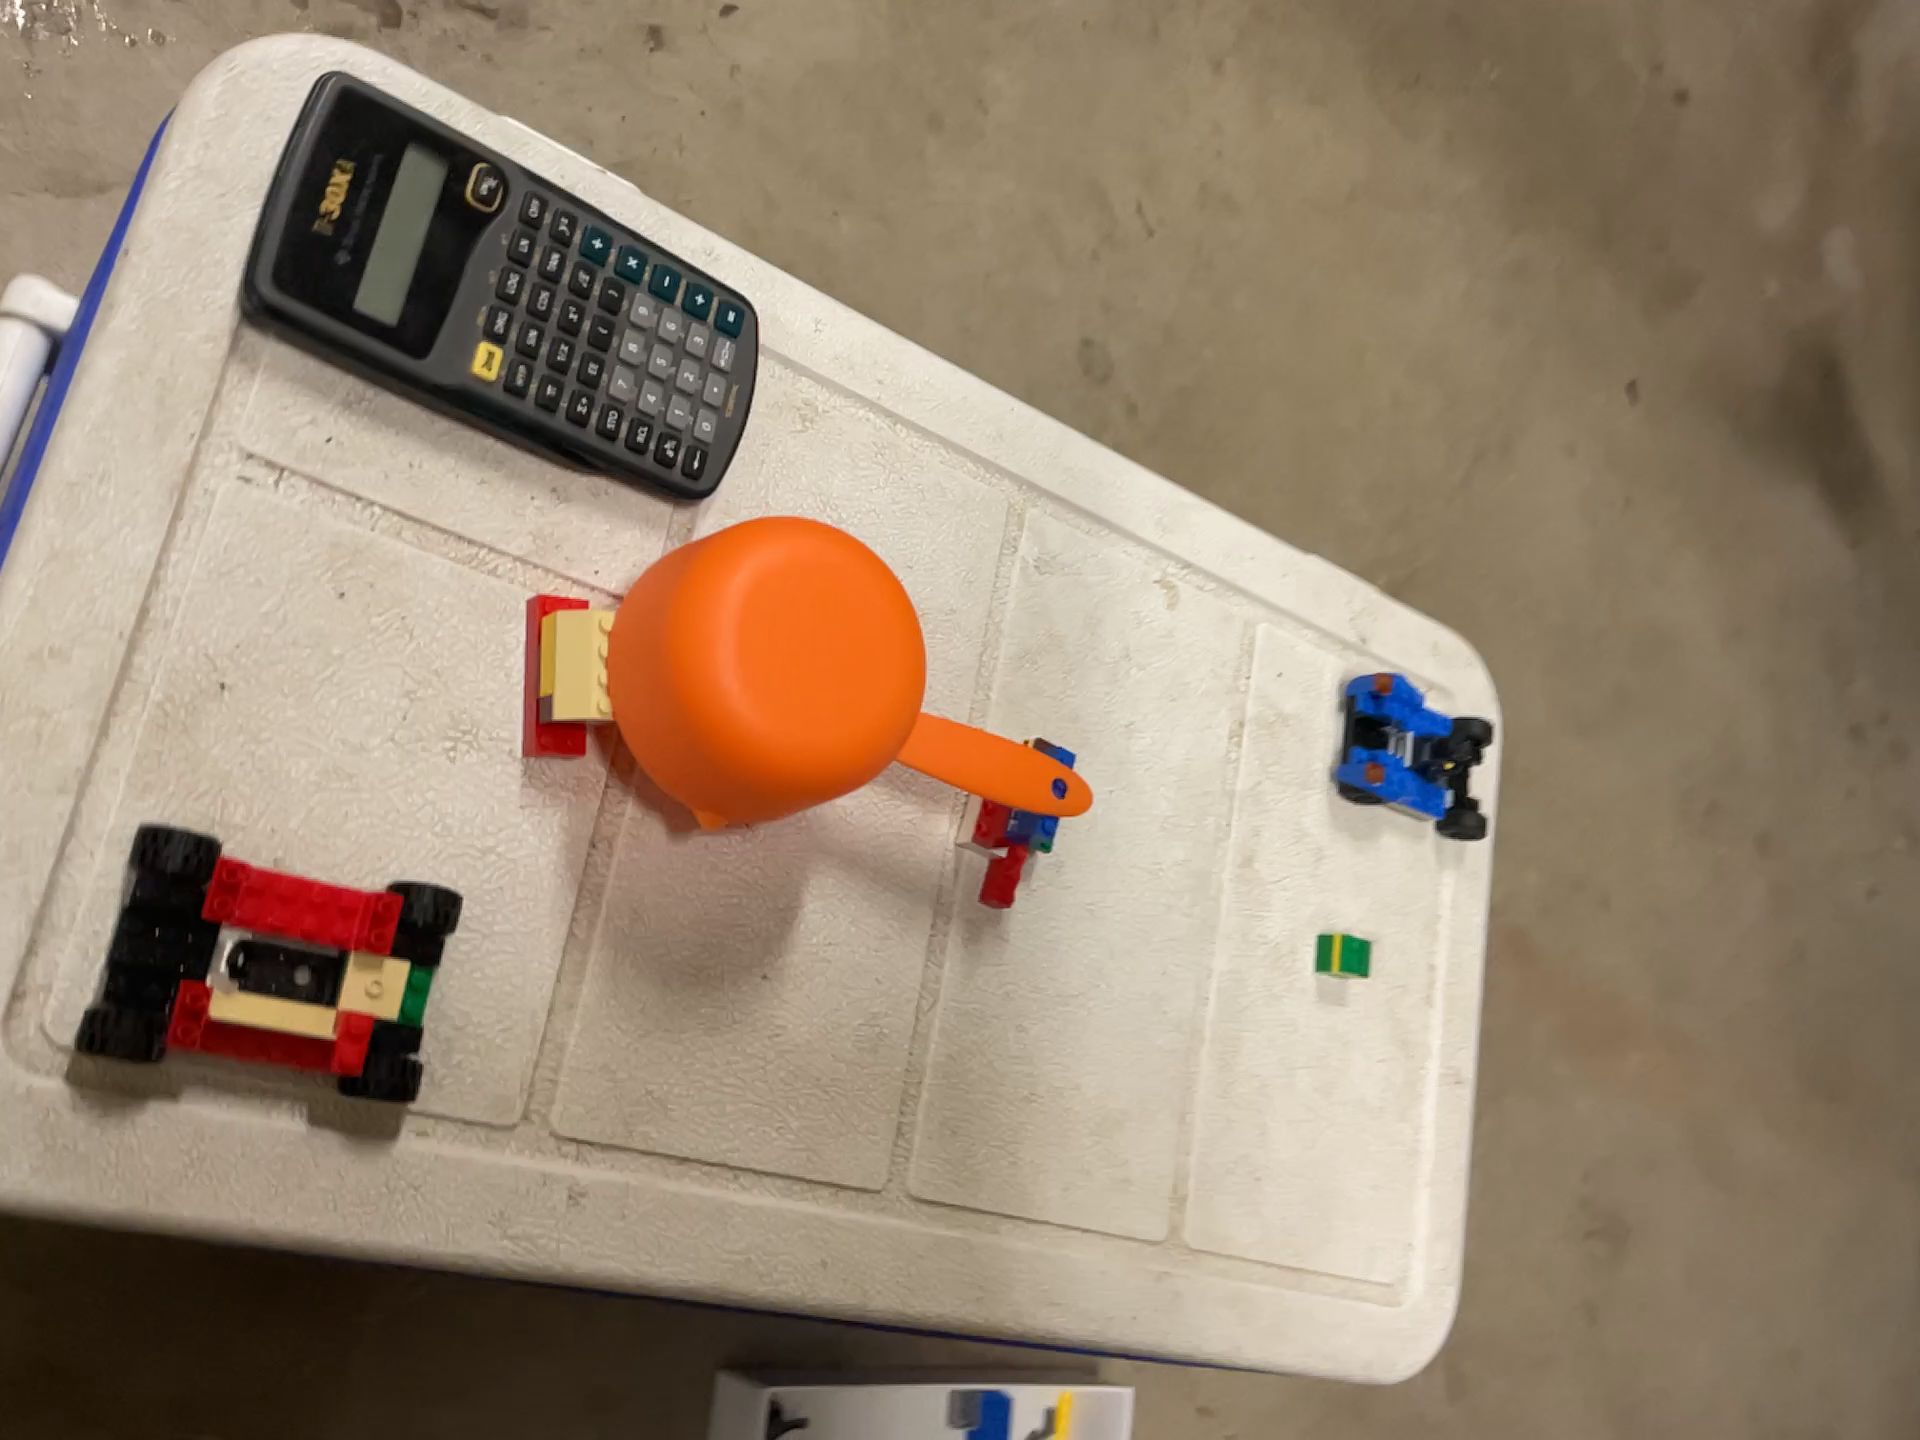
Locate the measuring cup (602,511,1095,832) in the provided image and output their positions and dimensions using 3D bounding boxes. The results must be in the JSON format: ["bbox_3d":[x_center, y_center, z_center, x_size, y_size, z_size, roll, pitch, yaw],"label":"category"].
[{"bbox_3d":[-0.017,-0.003,0.478,0.173,0.052,0.095,21,71,-26],"label":"measuring cup"}]
